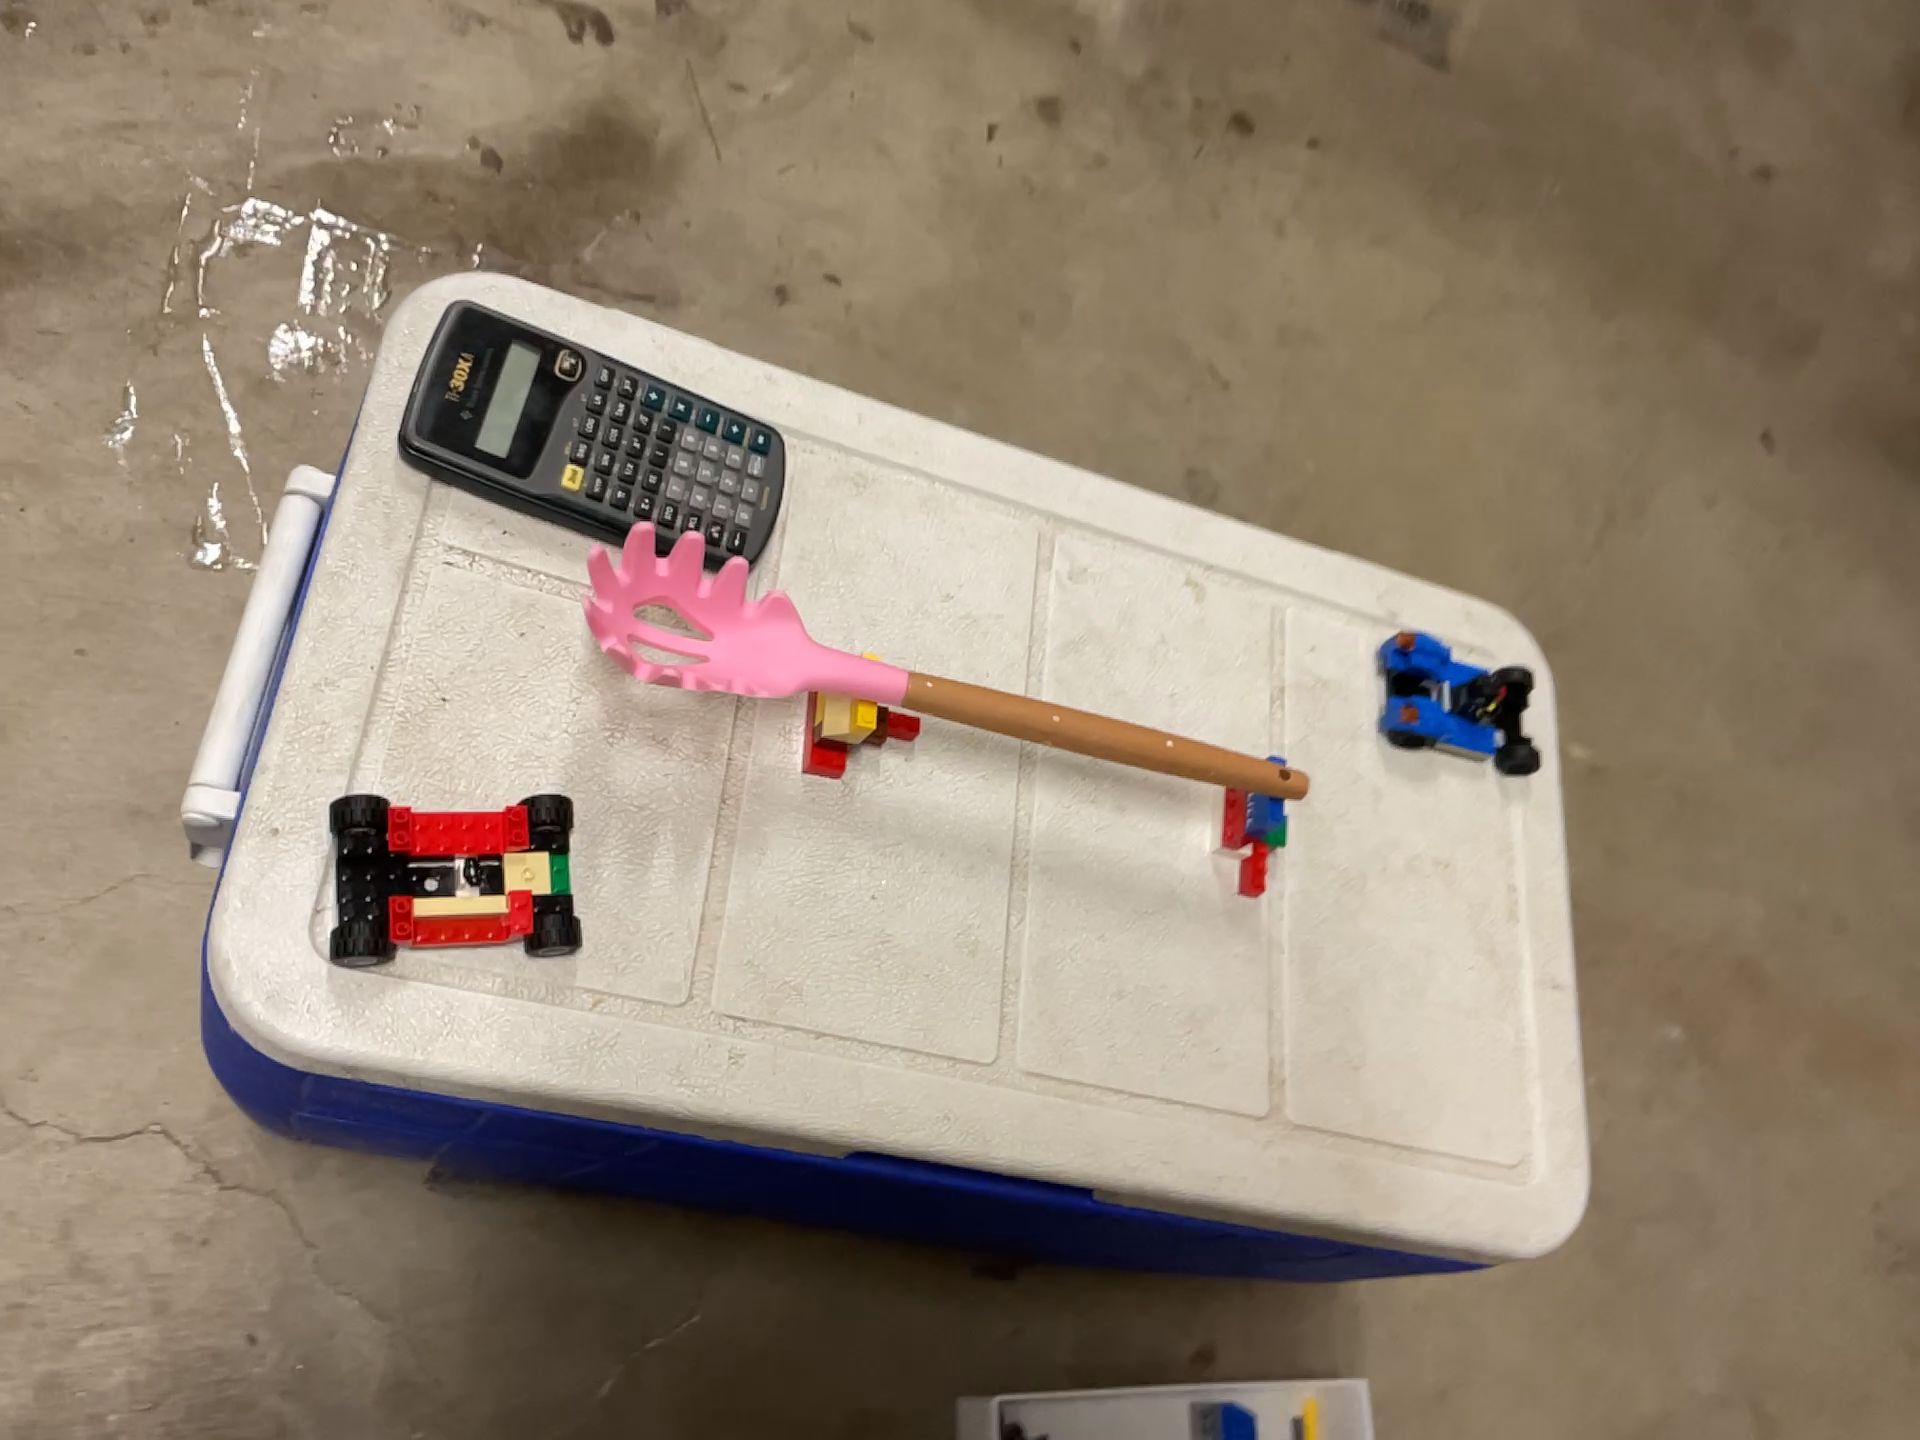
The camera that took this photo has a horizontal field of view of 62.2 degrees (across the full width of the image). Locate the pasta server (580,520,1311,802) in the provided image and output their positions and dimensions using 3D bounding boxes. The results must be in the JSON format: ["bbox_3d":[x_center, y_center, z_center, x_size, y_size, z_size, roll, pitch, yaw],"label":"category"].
[{"bbox_3d":[0.005,-0.009,0.629,0.316,0.040,0.060,14,65,-19],"label":"pasta server"}]
